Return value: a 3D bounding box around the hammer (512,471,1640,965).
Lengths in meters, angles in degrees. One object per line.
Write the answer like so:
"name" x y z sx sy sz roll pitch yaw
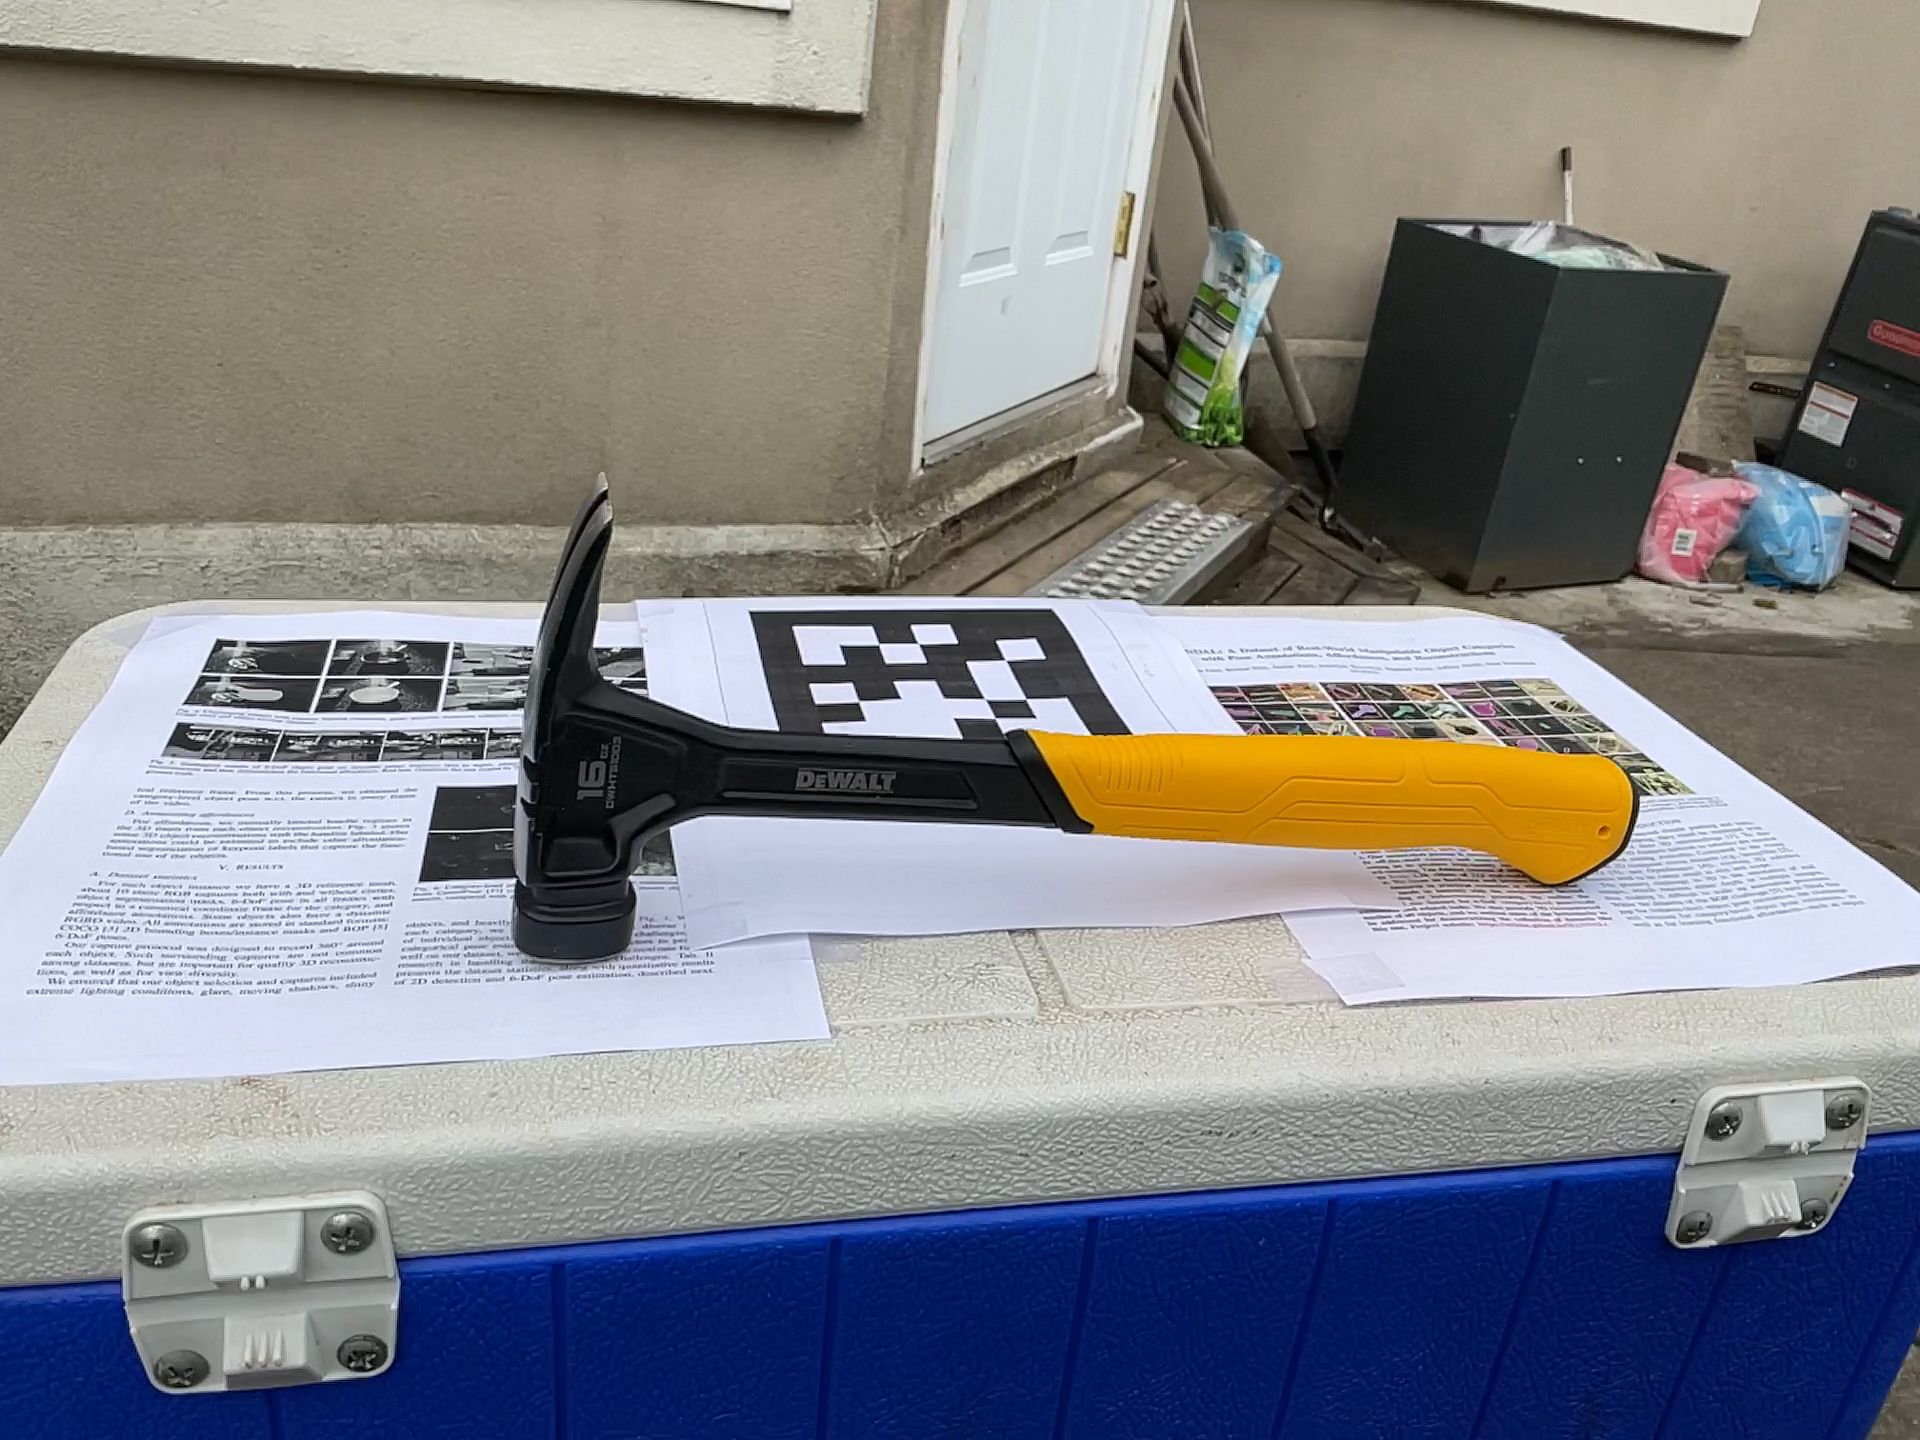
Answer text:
"hammer" 0.050 0.012 0.455 0.336 0.127 0.034 4 24 -18
